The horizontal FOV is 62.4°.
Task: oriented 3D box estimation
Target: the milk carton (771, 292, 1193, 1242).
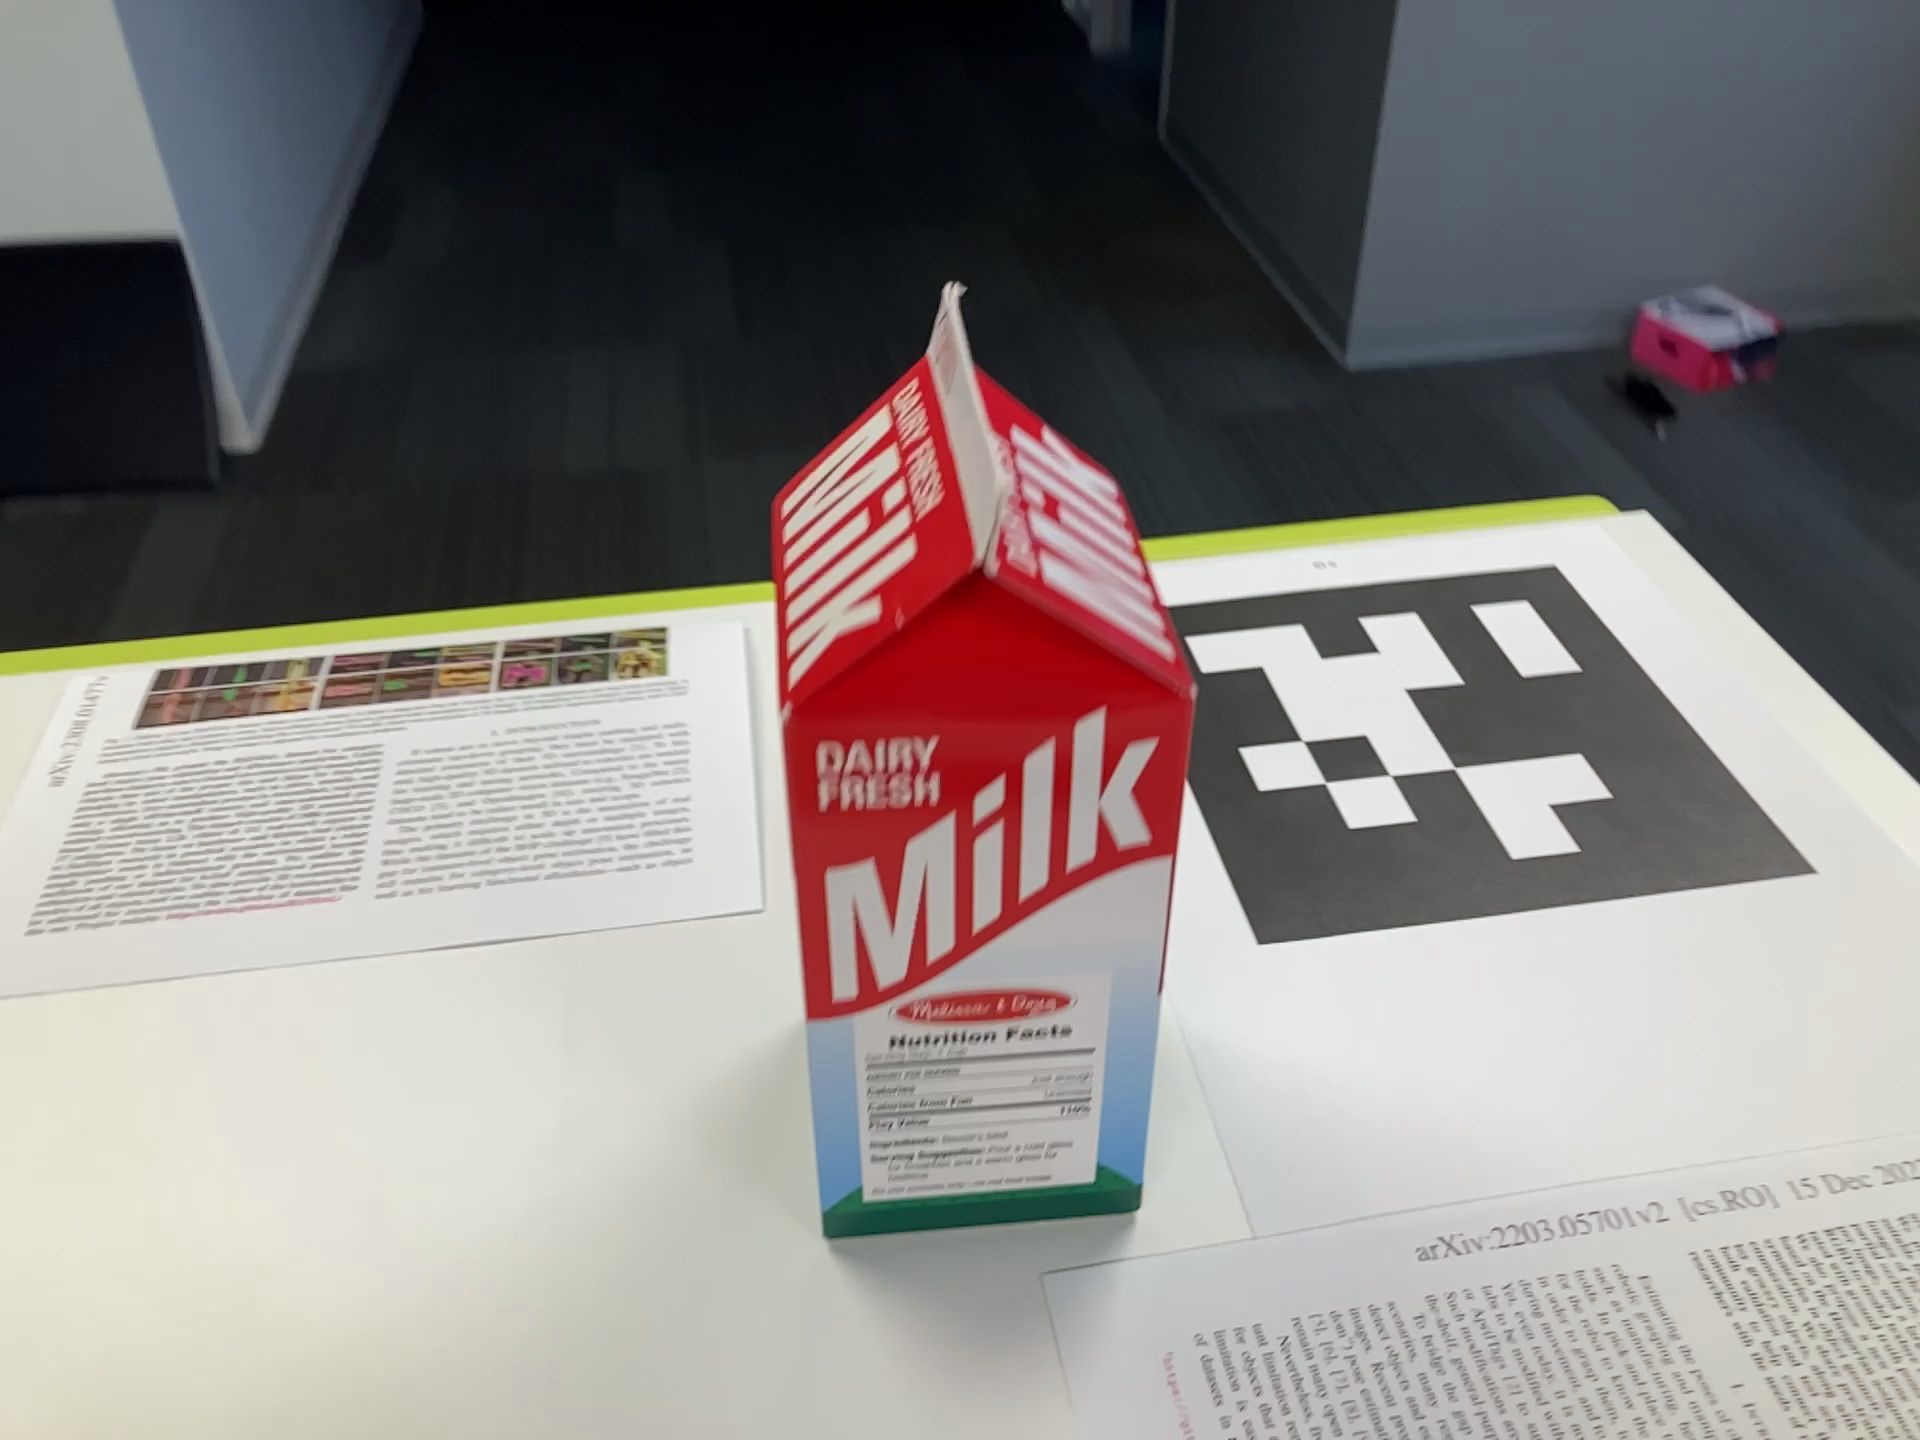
[{"bbox_3d":[0.001,0.018,0.321,0.073,0.190,0.072,-4,39,-4],"label":"milk carton"}]
